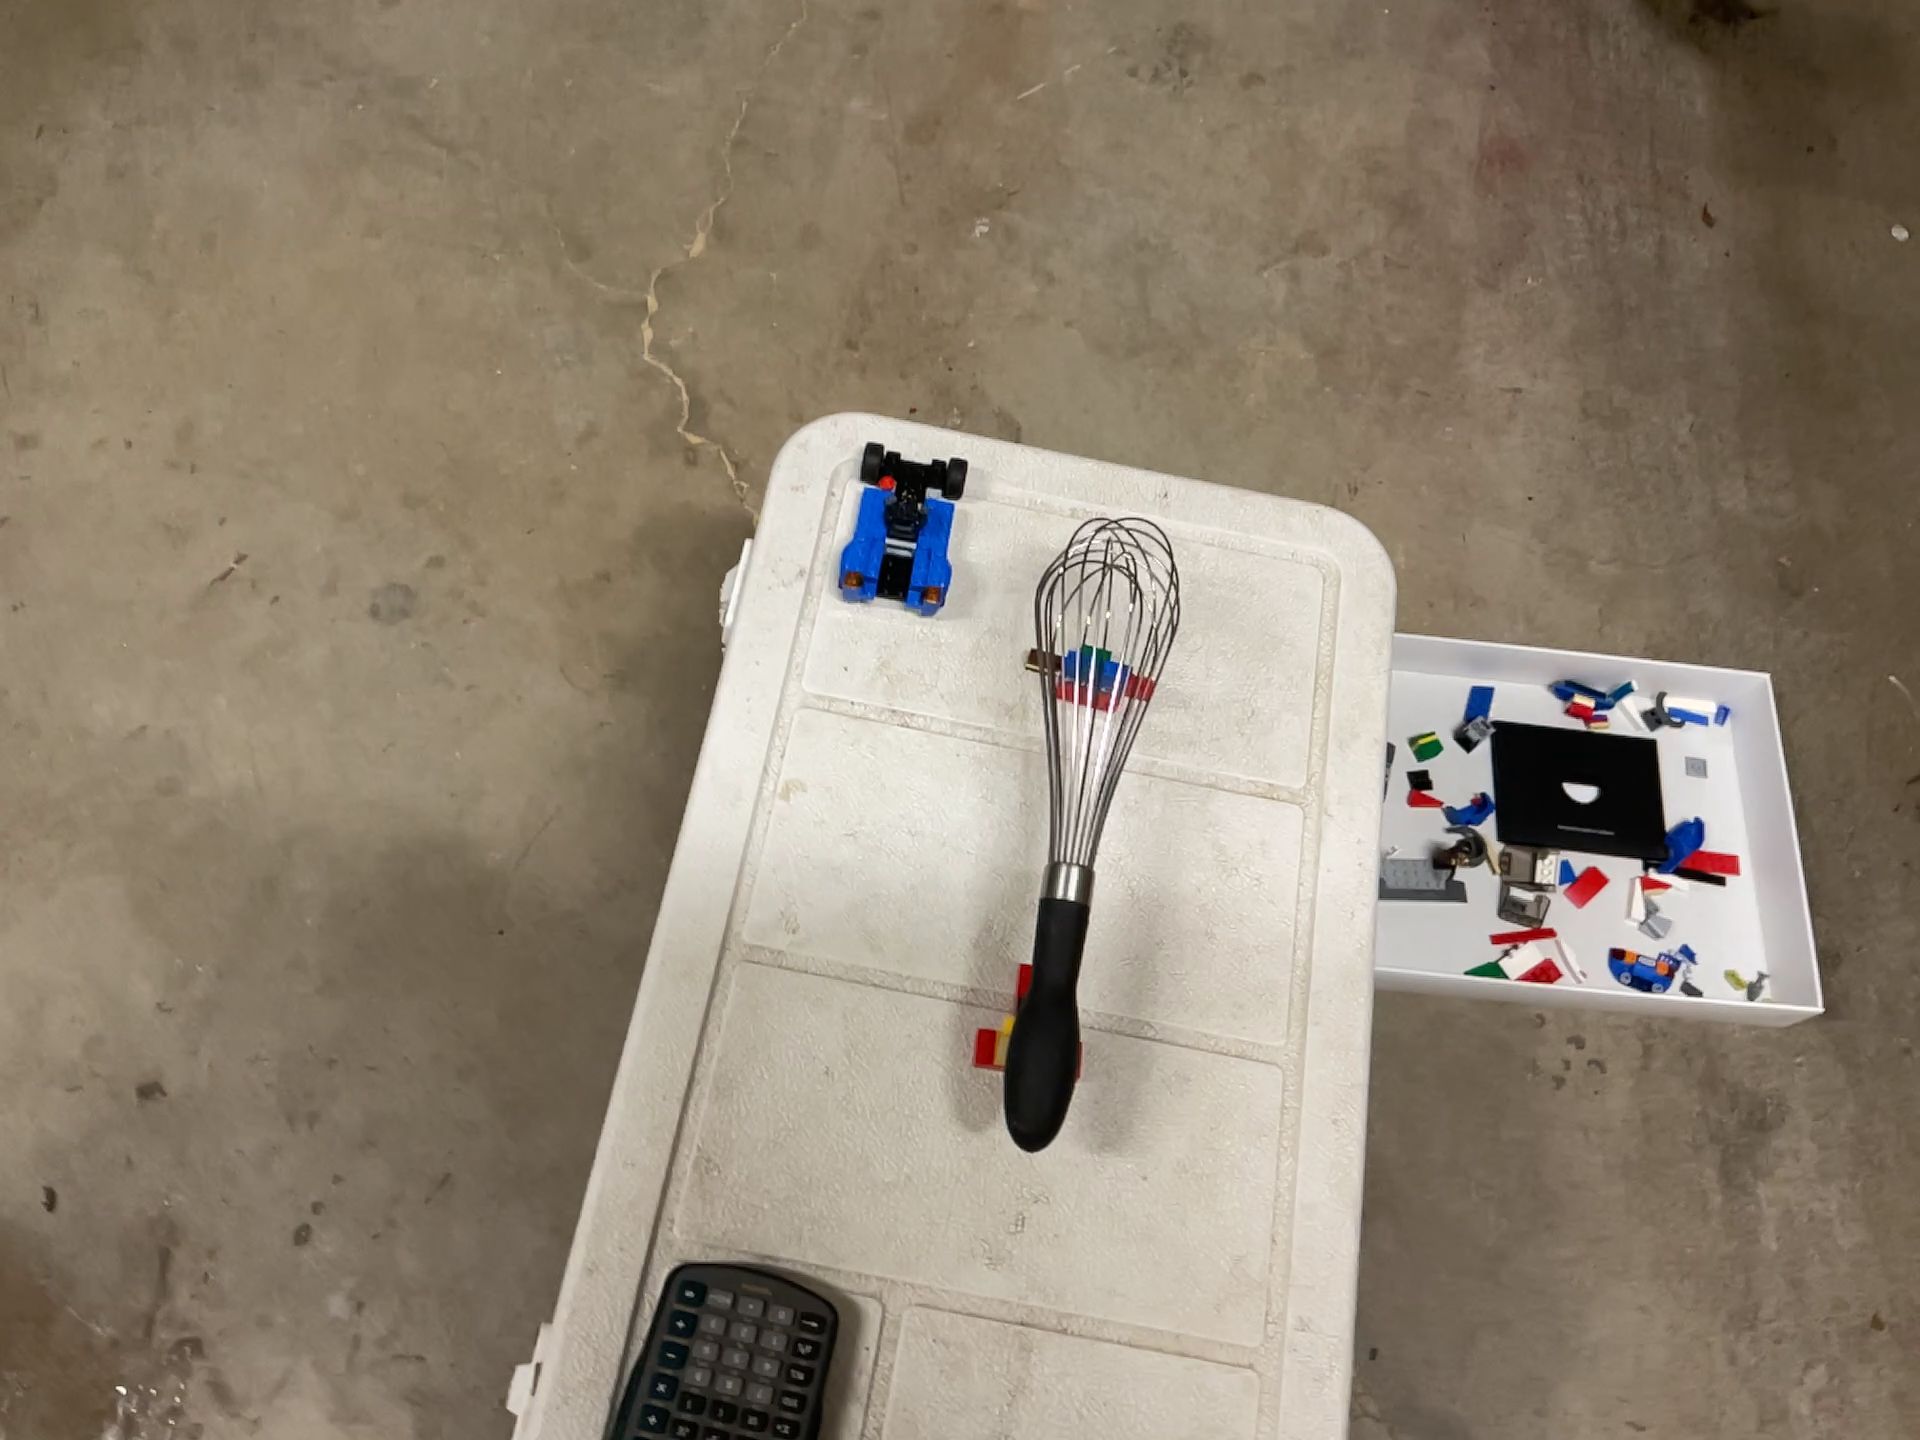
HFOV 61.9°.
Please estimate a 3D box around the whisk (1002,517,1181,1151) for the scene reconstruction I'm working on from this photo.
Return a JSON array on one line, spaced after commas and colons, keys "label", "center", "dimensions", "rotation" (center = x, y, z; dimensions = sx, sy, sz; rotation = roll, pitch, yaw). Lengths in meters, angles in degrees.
[{"label": "whisk", "center": [0.052, 0.041, 0.694], "dimensions": [0.070, 0.070, 0.285], "rotation": [12, 72, -7]}]
